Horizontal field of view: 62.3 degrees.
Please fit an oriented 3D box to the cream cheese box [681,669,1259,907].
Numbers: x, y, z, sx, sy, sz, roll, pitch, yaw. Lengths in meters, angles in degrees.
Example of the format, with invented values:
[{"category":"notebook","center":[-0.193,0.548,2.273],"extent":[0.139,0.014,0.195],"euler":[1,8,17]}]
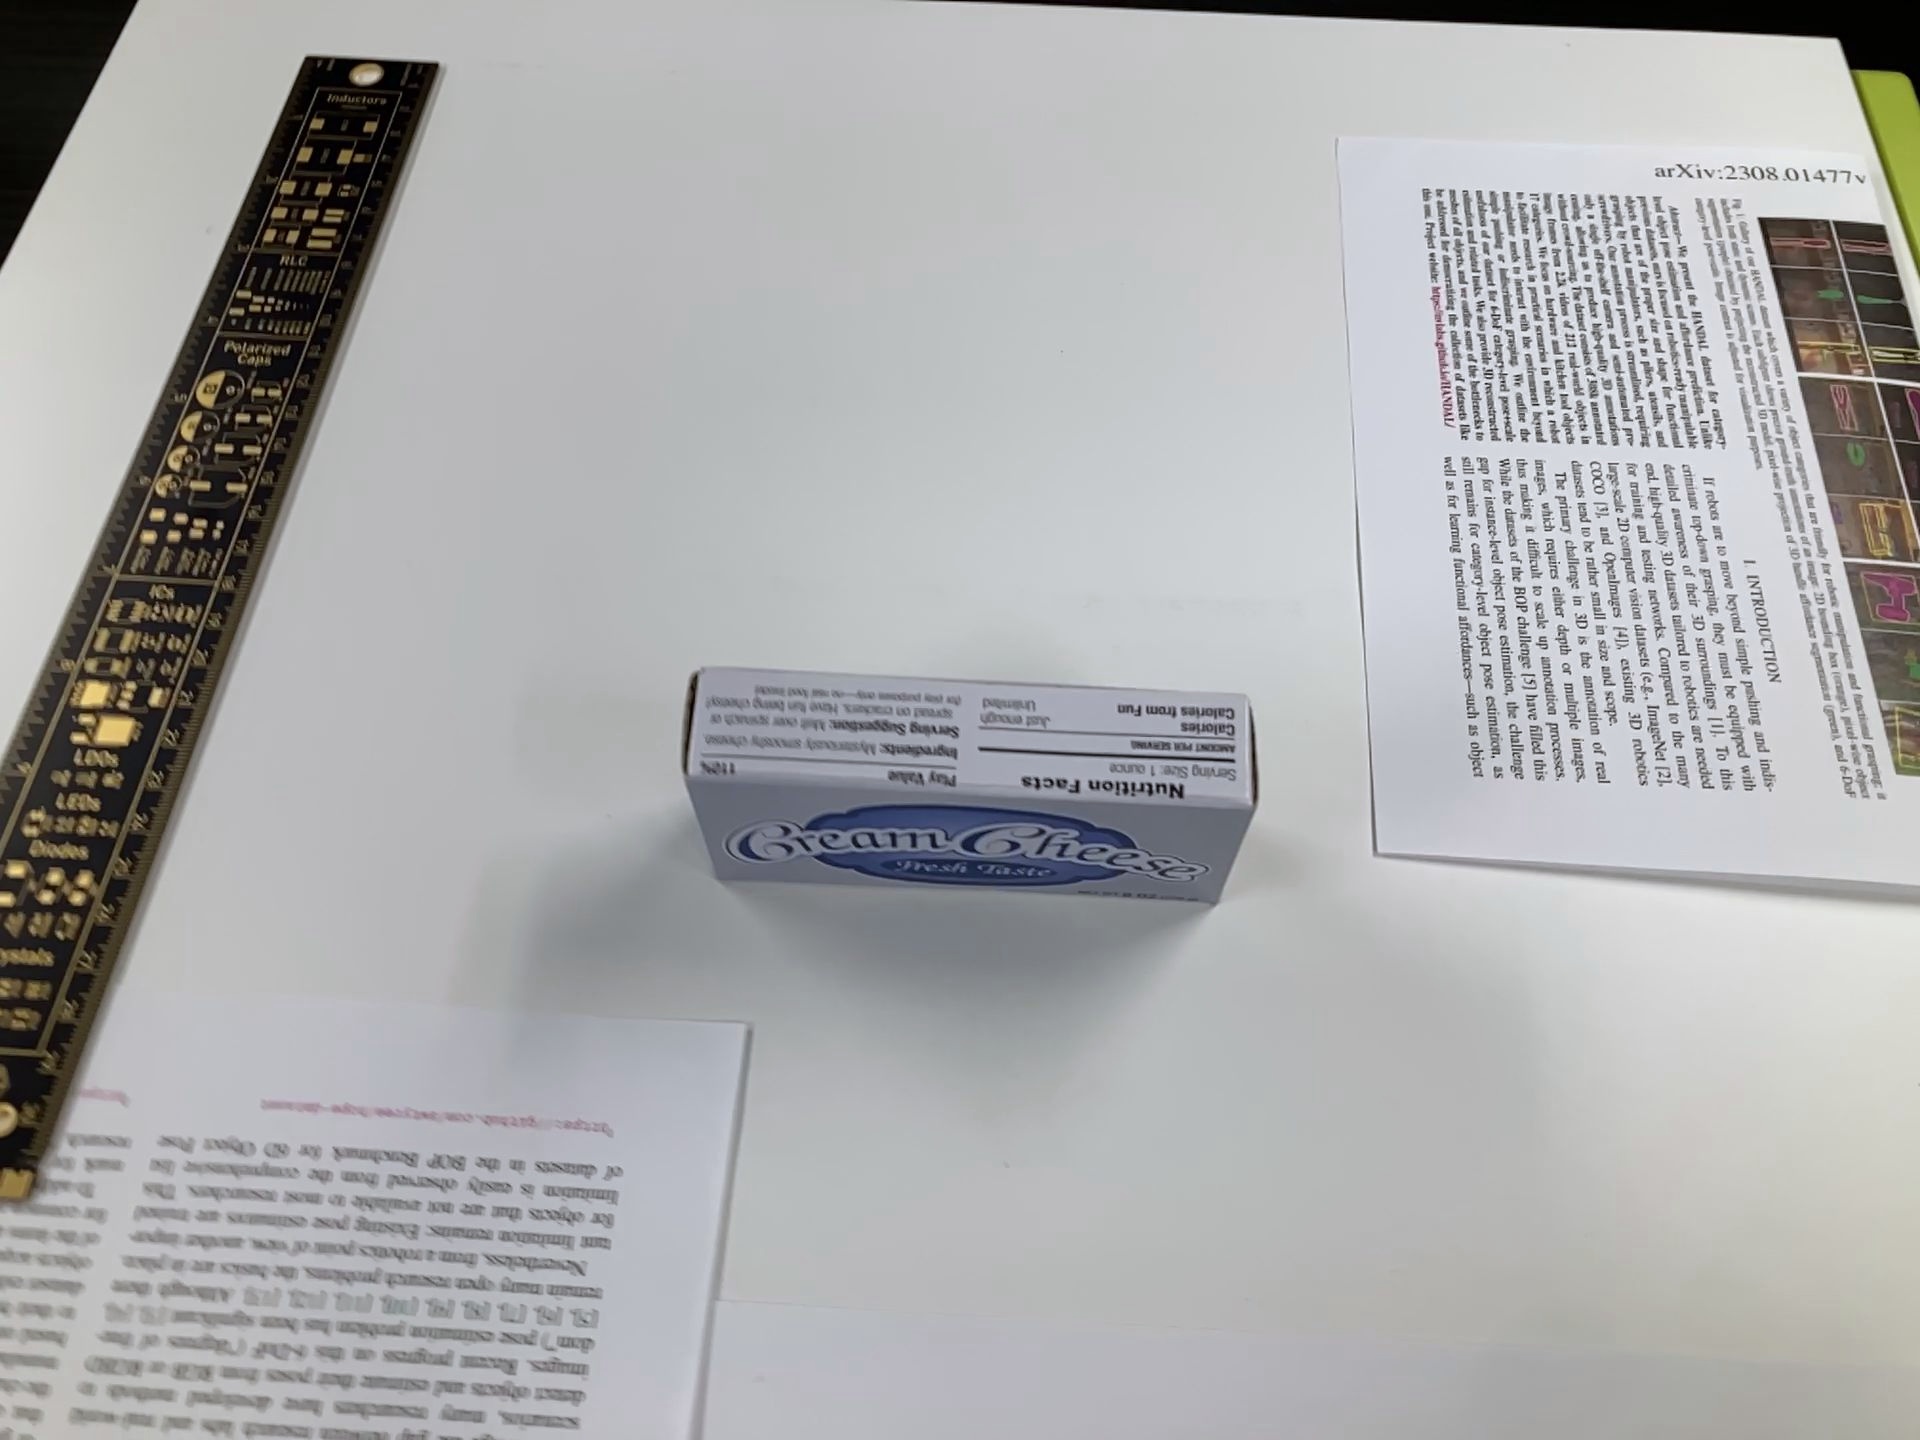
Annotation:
[{"category":"cream cheese box","center":[0.001,0.014,0.304],"extent":[0.104,0.053,0.024],"euler":[2,62,2]}]
